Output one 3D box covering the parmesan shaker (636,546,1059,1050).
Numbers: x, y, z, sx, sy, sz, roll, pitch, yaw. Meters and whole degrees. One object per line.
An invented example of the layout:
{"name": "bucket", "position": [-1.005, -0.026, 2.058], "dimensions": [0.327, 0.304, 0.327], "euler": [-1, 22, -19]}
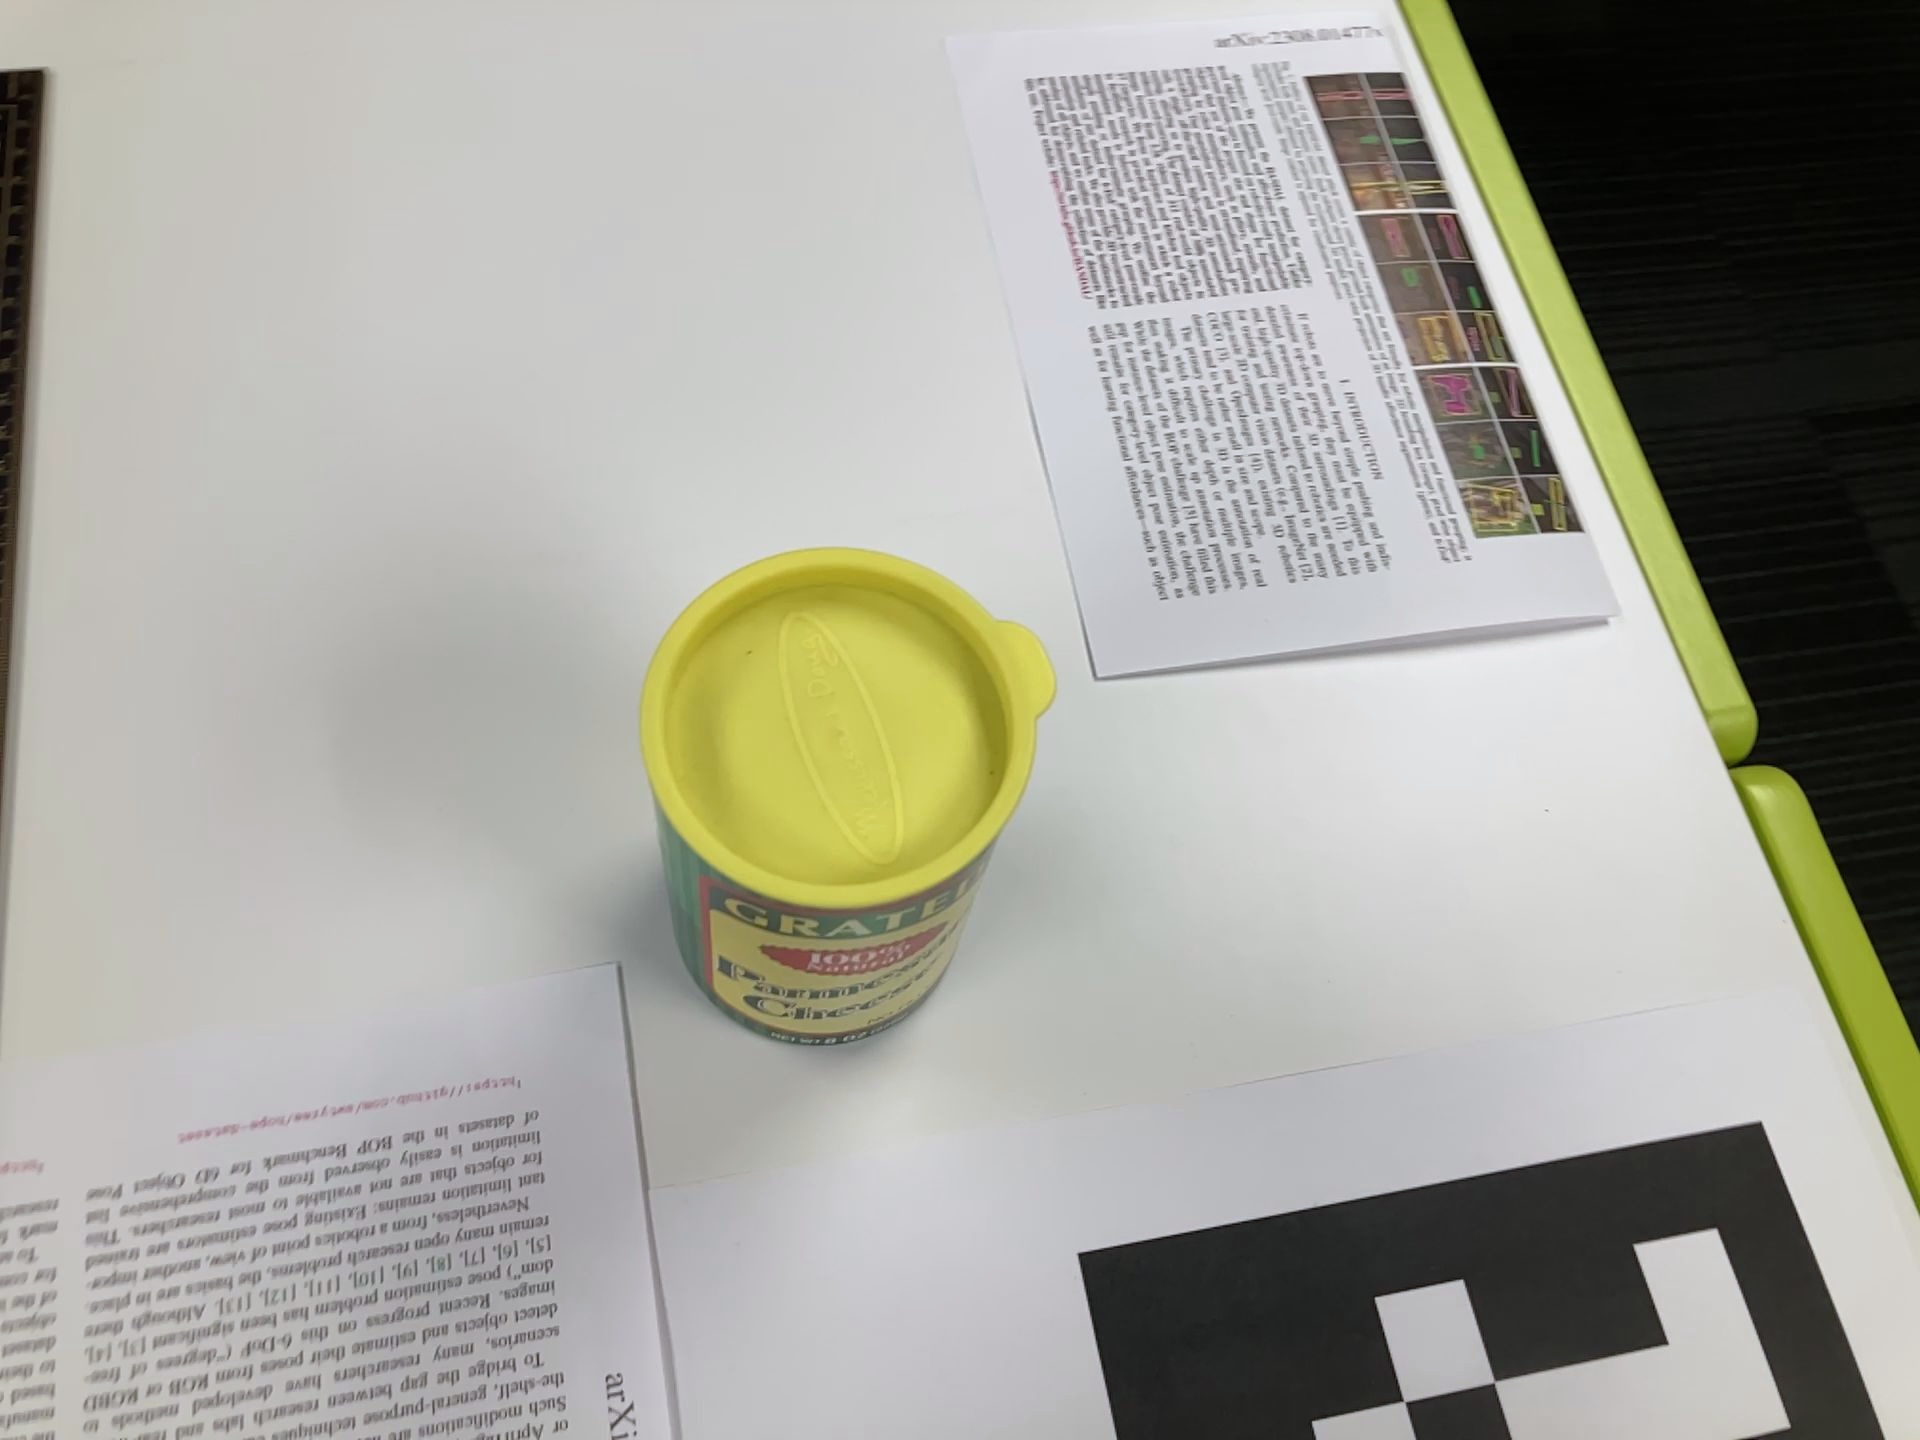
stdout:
{"name": "parmesan shaker", "position": [-0.023, 0.020, 0.310], "dimensions": [0.071, 0.103, 0.071], "euler": [3, 65, -5]}
